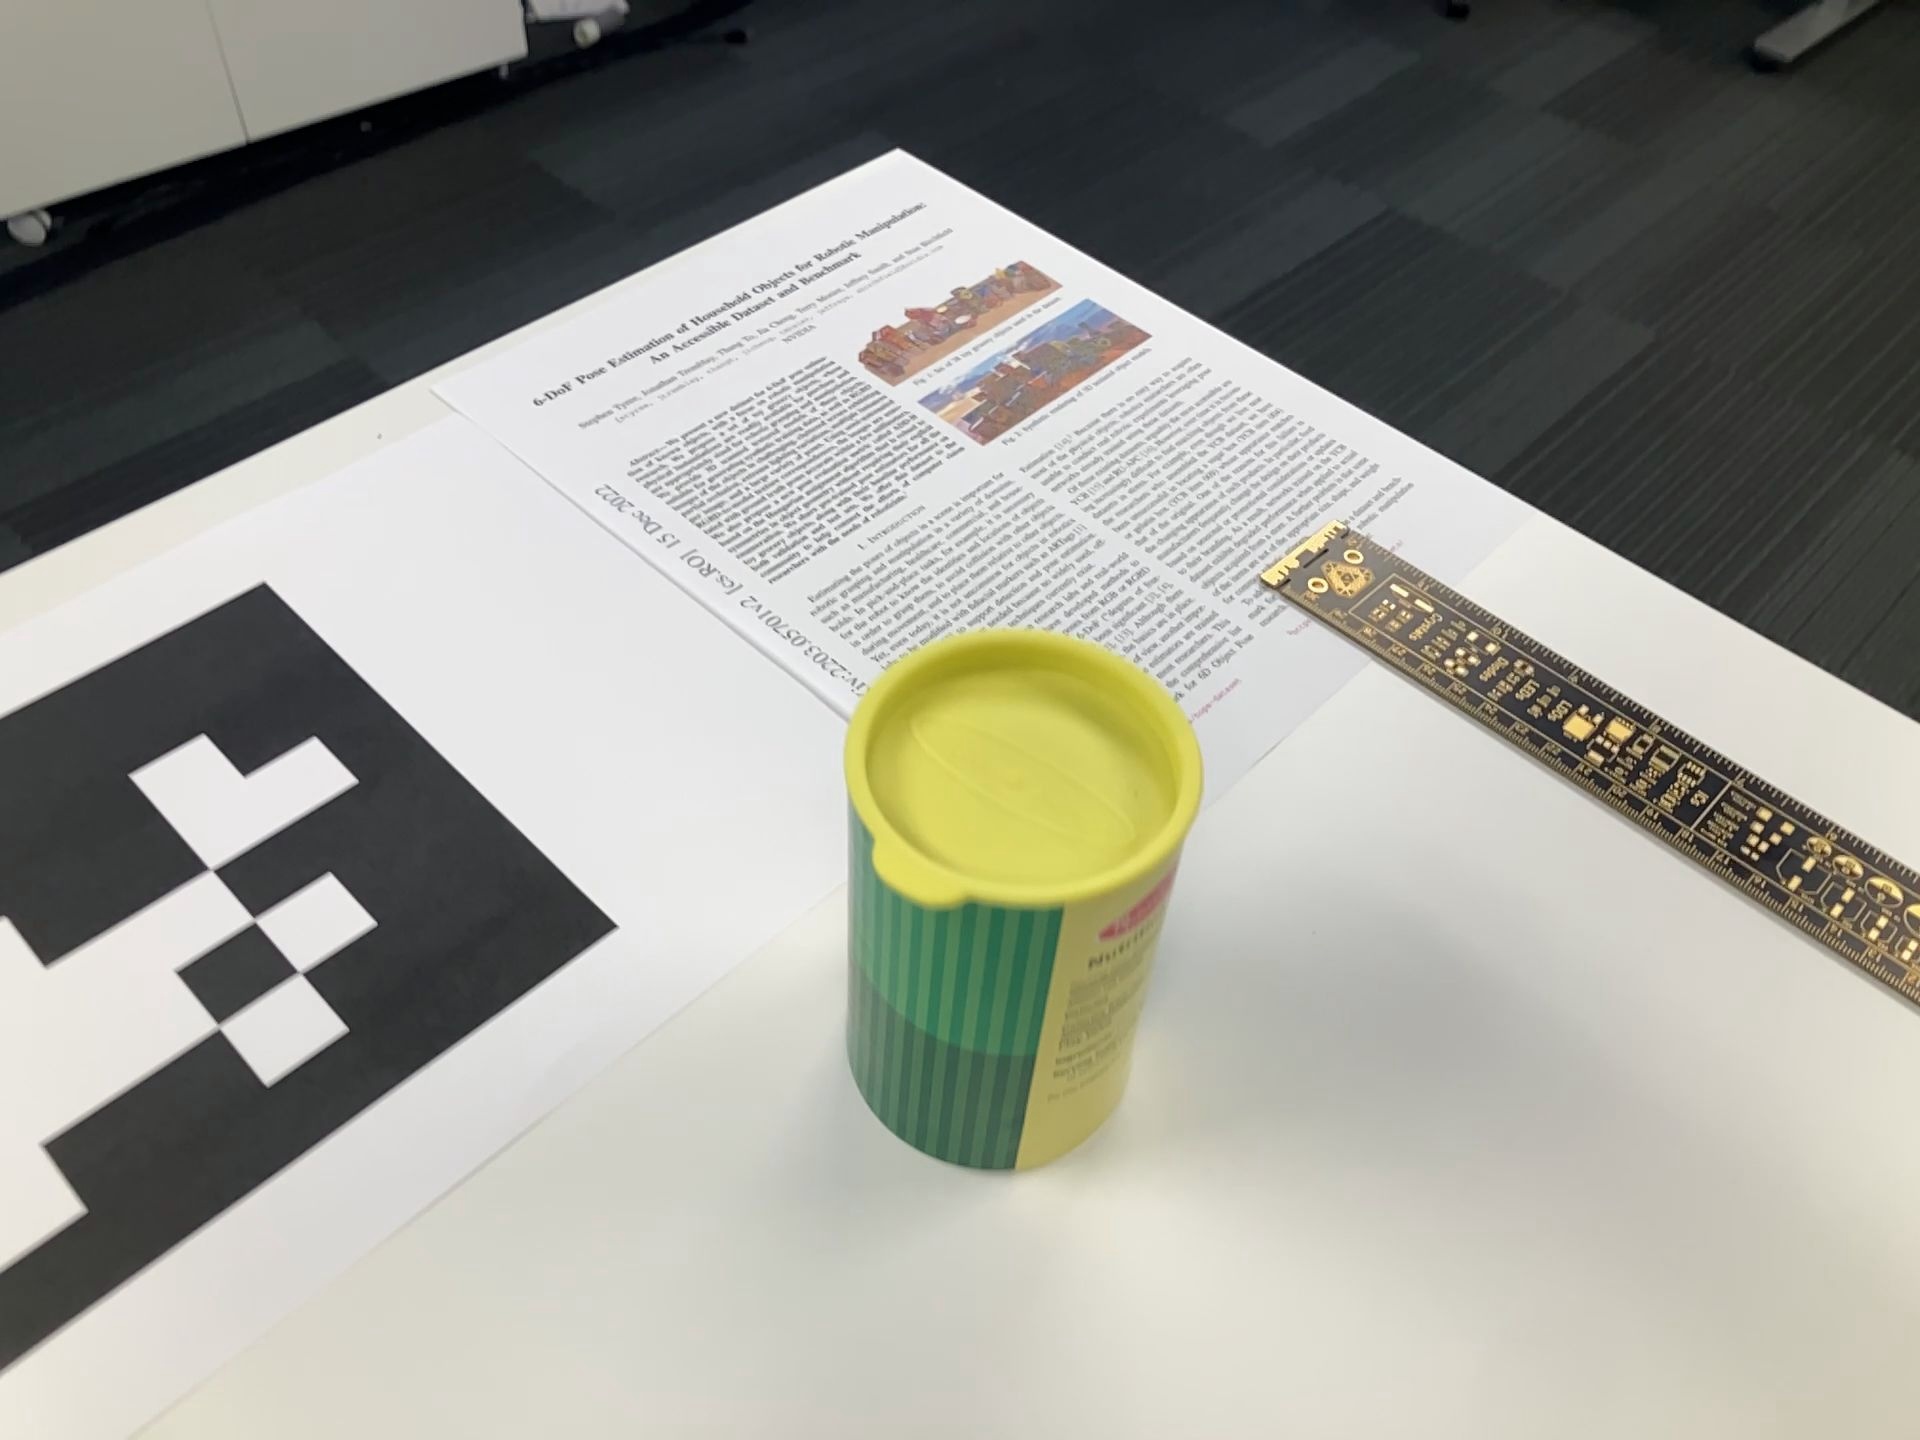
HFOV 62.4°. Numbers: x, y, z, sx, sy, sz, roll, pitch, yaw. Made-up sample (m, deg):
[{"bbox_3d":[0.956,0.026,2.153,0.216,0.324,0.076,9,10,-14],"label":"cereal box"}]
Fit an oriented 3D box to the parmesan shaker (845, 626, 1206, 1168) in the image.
[{"bbox_3d":[0.007,0.041,0.327,0.071,0.103,0.071,2,48,-3],"label":"parmesan shaker"}]
